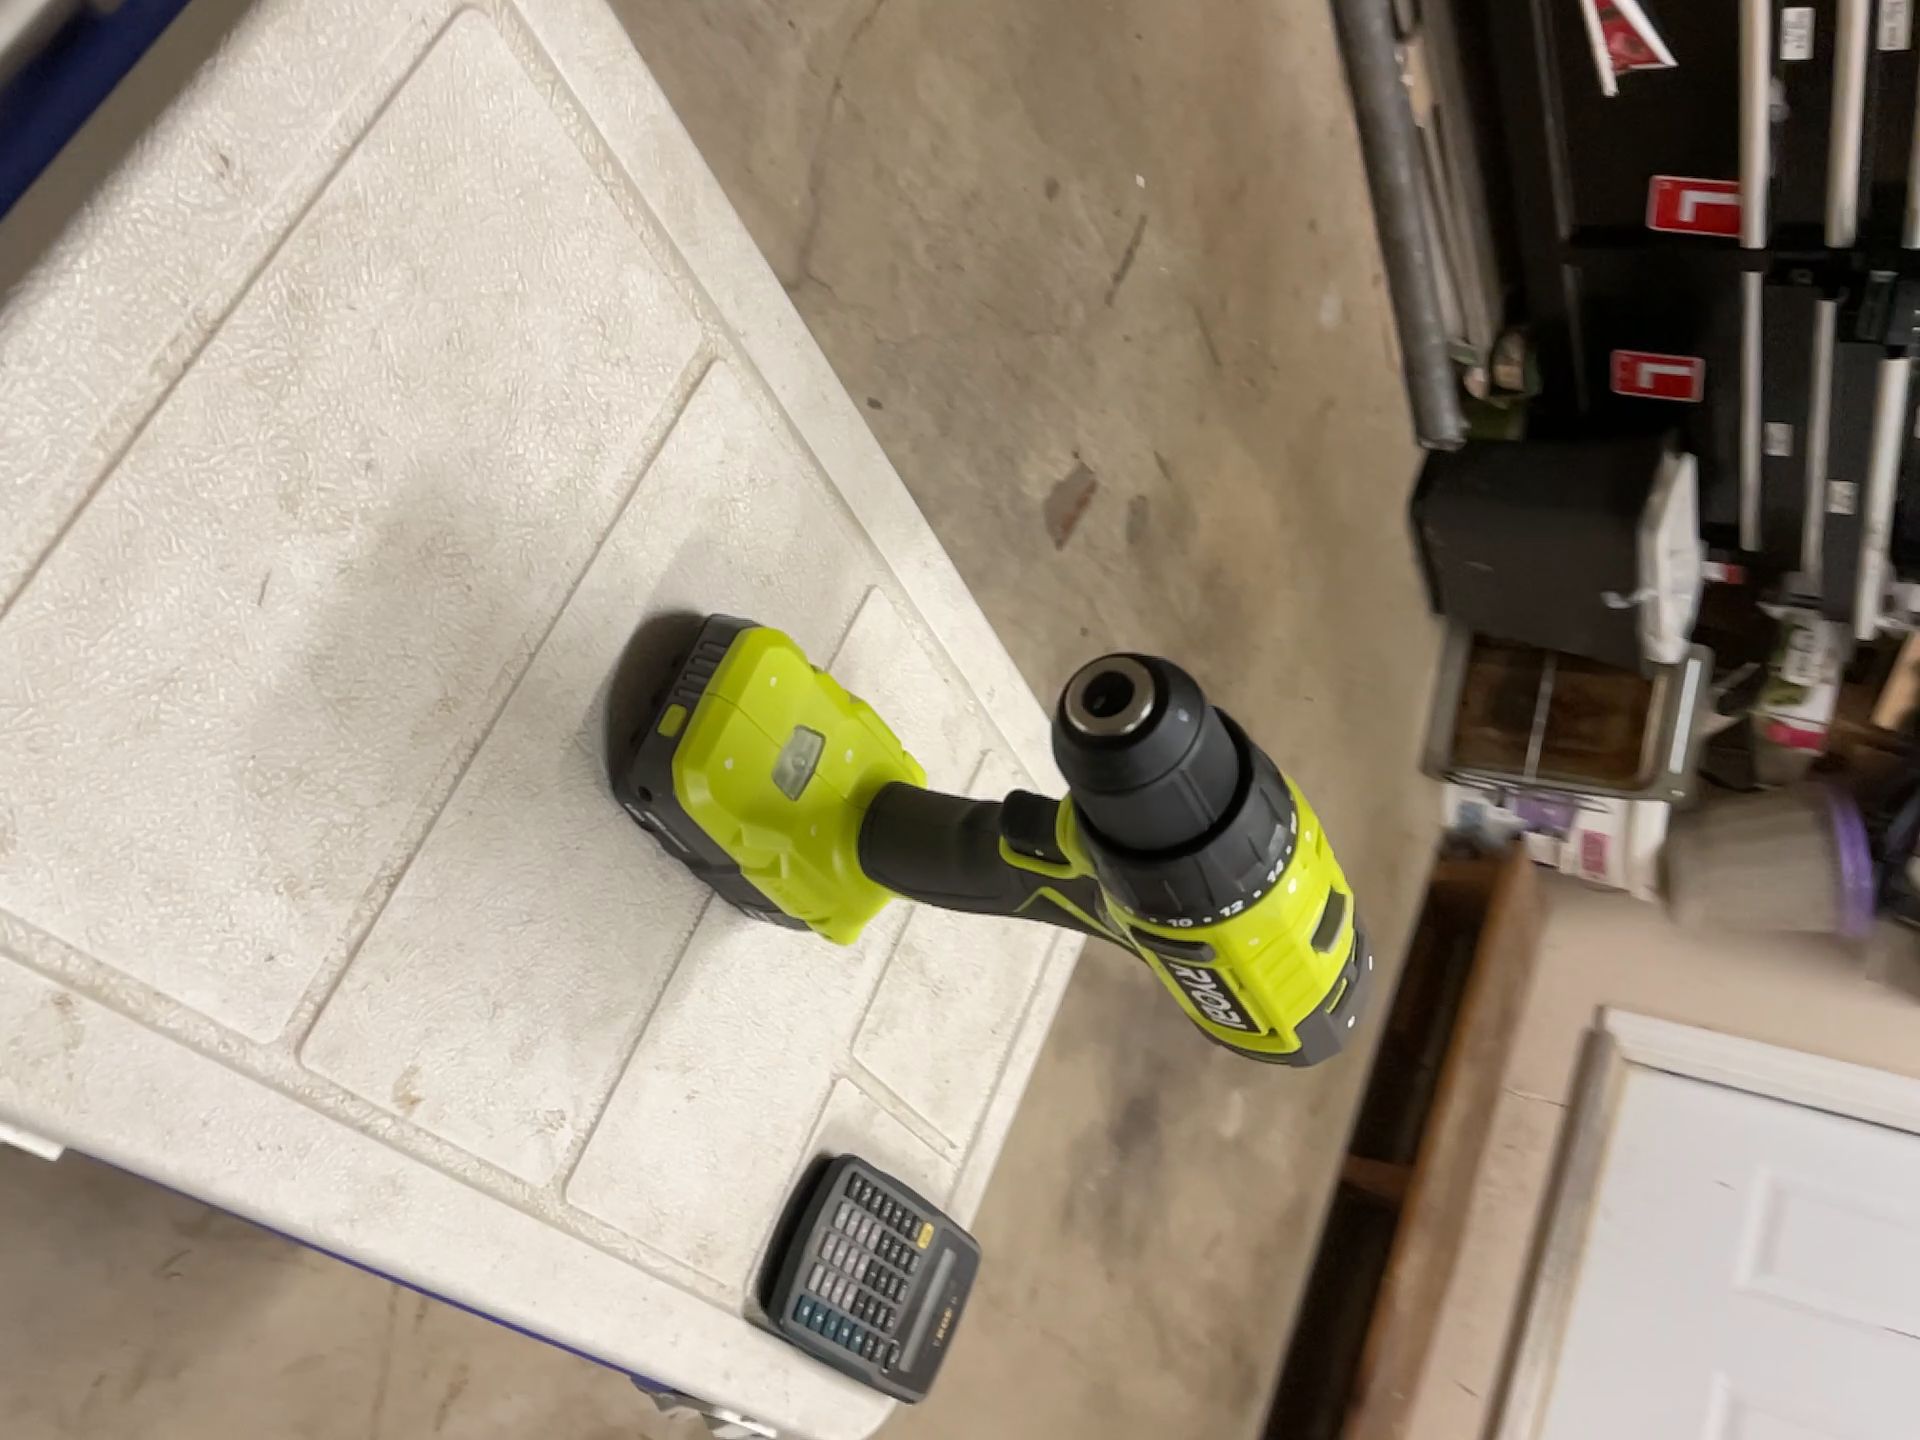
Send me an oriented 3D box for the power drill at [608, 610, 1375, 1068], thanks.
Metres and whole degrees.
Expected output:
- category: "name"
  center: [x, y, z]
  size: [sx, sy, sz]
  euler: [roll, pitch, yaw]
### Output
- category: "power drill"
  center: [0.005, 0.029, 0.501]
  size: [0.190, 0.228, 0.080]
  euler: [52, 55, -50]
